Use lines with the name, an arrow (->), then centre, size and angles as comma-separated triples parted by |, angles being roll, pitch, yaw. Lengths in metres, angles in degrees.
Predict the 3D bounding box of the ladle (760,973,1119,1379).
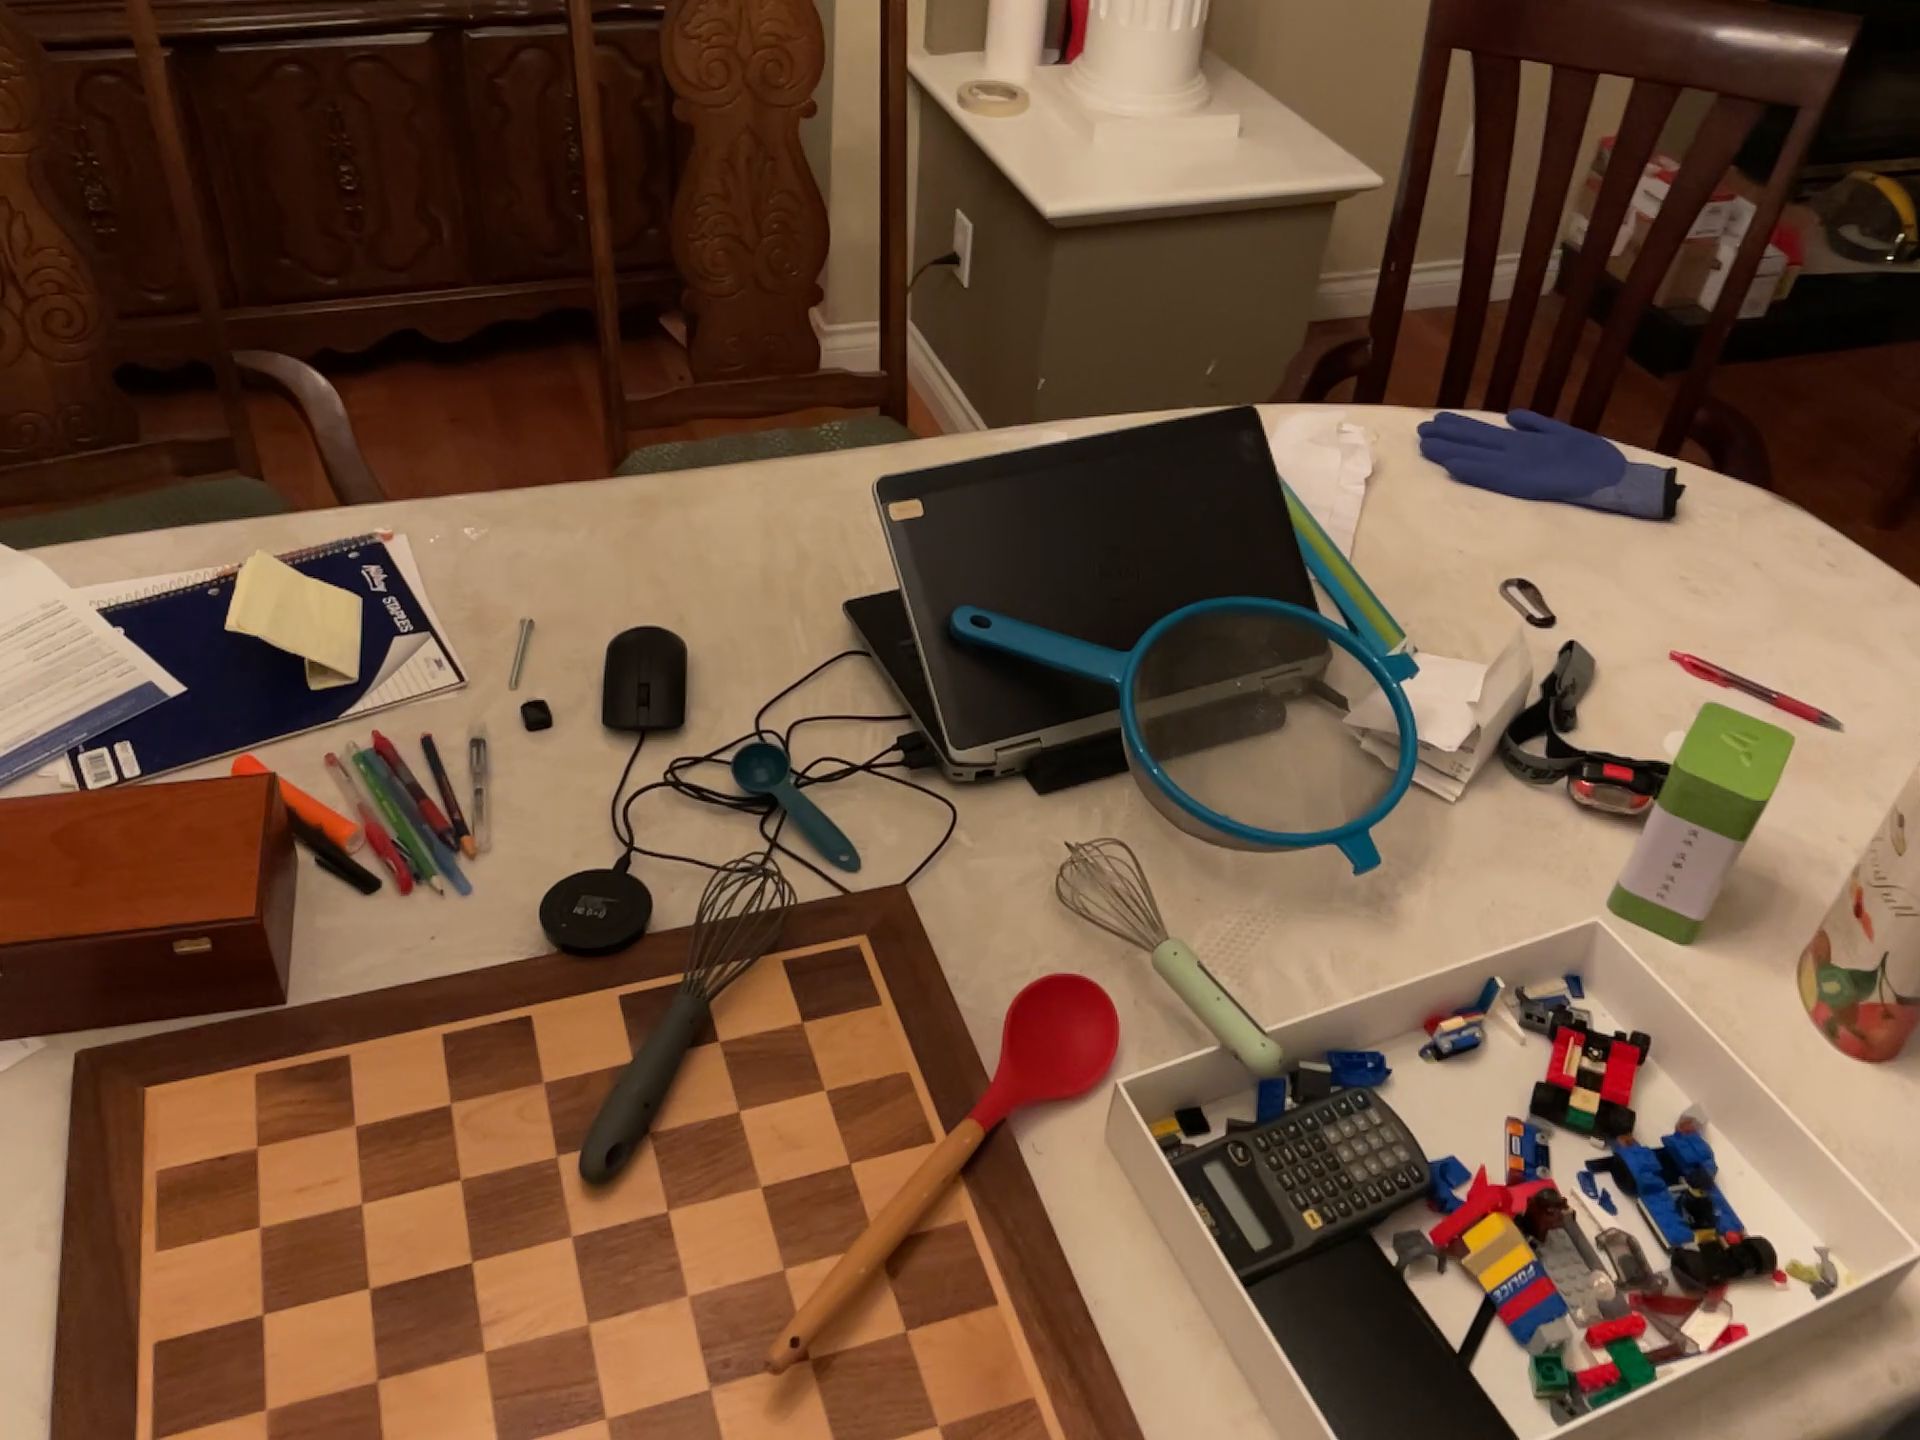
ladle -> -0.006, 0.243, 0.876 | 0.069, 0.031, 0.315 | 43, 45, 8

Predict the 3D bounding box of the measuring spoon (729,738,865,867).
measuring spoon -> -0.112, 0.062, 1.108 | 0.042, 0.021, 0.129 | -36, 67, -29

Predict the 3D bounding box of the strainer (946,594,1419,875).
strainer -> 0.149, -0.001, 1.142 | 0.340, 0.095, 0.211 | 18, 55, 7

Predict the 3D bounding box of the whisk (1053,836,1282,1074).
whisk -> 0.125, 0.140, 0.989 | 0.059, 0.057, 0.247 | -39, 36, -4

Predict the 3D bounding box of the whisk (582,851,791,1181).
whisk -> -0.160, 0.168, 0.938 | 0.055, 0.055, 0.239 | 6, 43, 21
